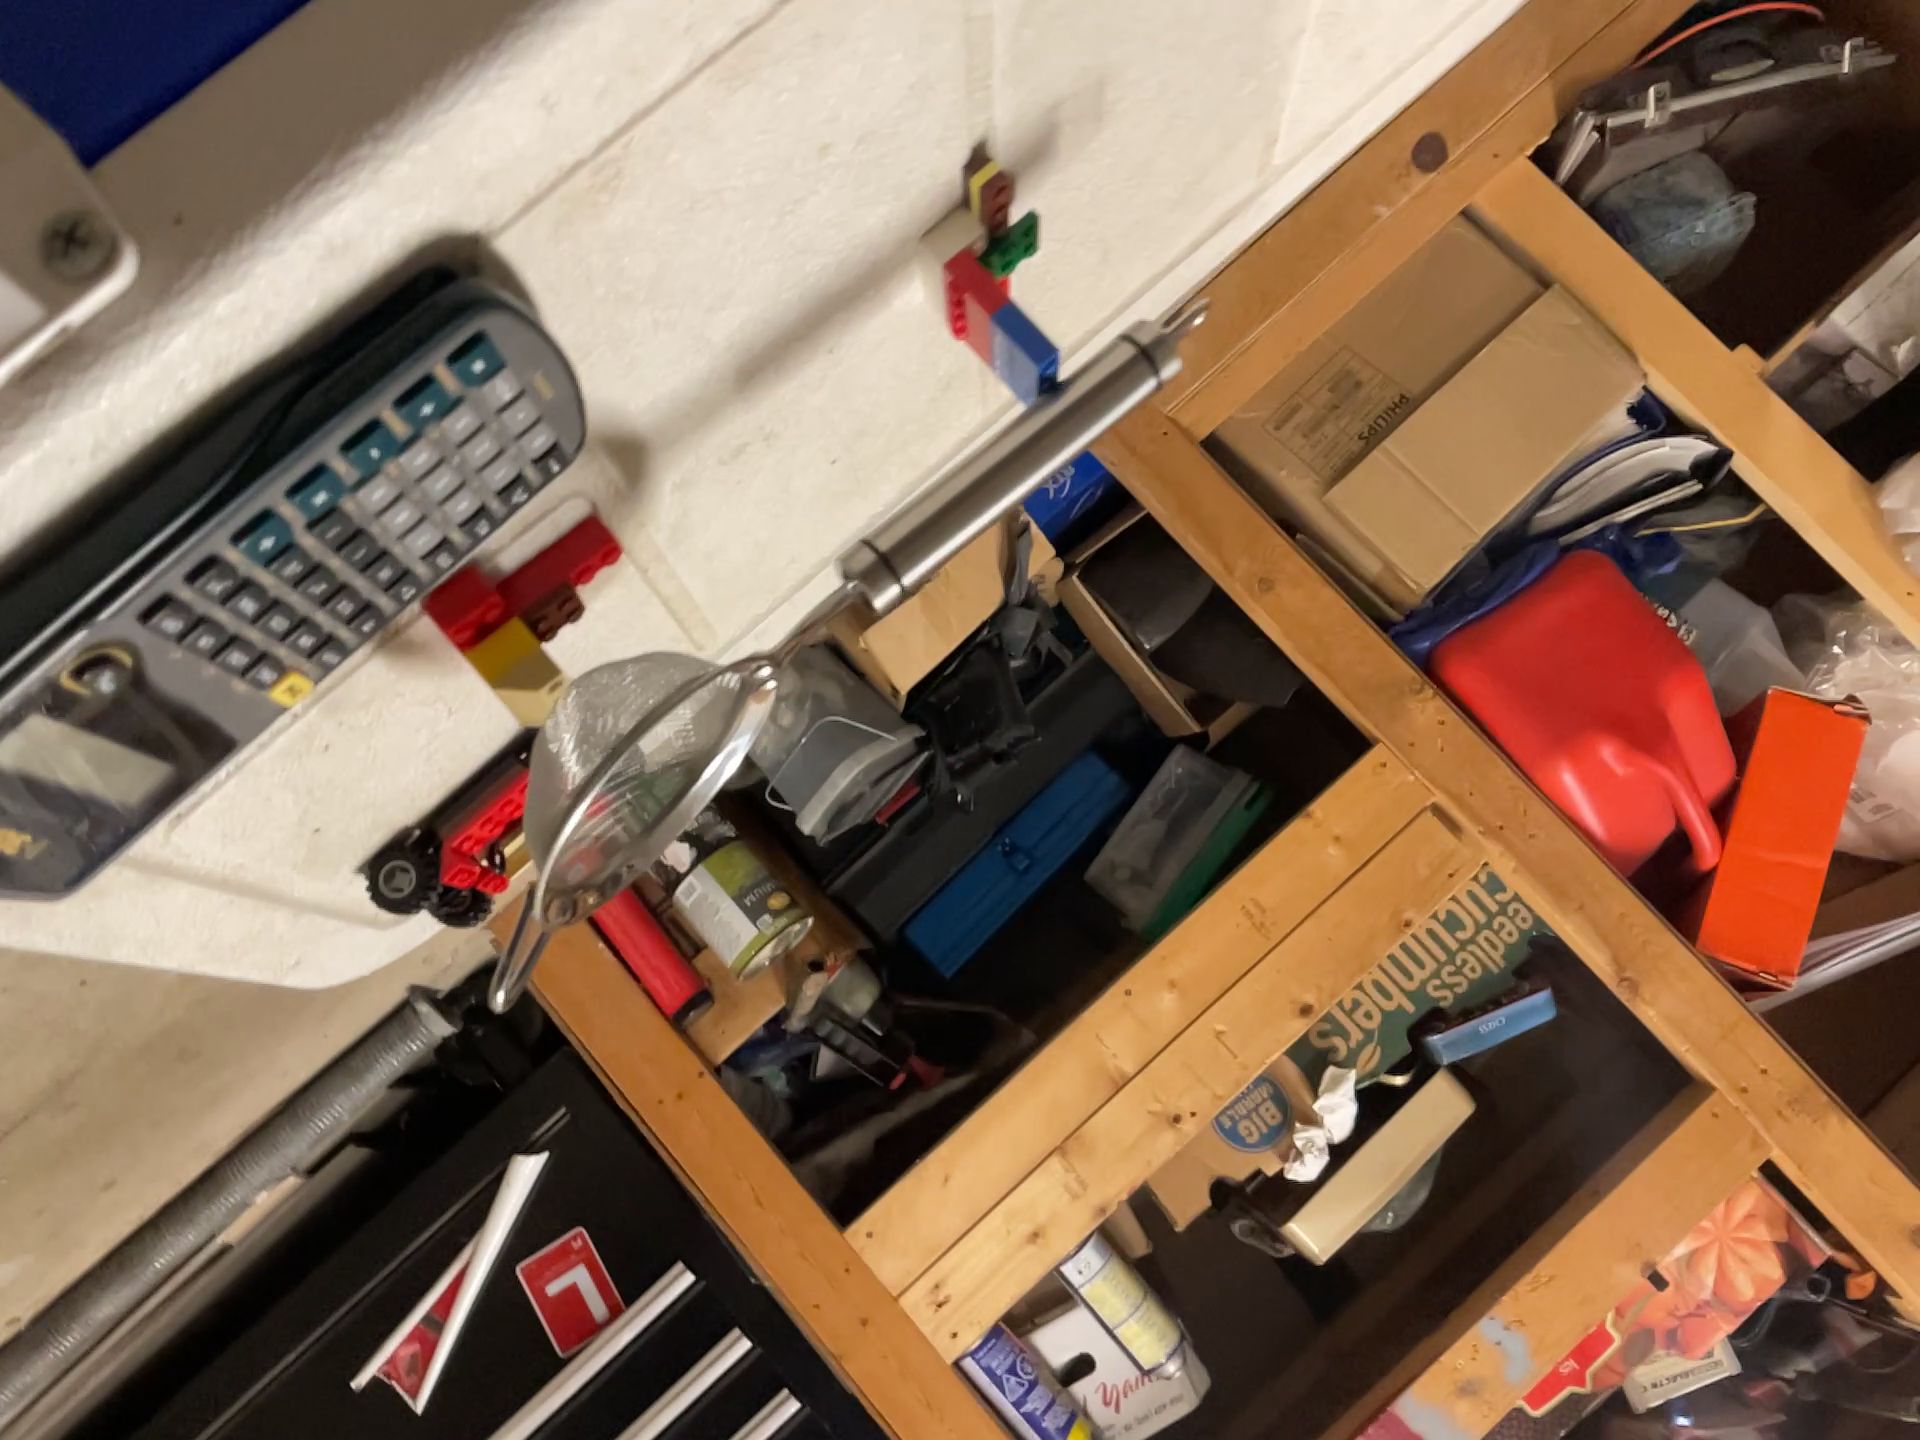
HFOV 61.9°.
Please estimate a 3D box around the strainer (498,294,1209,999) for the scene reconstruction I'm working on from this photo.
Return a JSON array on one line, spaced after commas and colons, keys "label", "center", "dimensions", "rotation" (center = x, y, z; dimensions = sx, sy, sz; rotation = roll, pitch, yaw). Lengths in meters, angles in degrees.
[{"label": "strainer", "center": [-0.029, -0.033, 0.413], "dimensions": [0.258, 0.050, 0.086], "rotation": [-41, 171, -12]}]
